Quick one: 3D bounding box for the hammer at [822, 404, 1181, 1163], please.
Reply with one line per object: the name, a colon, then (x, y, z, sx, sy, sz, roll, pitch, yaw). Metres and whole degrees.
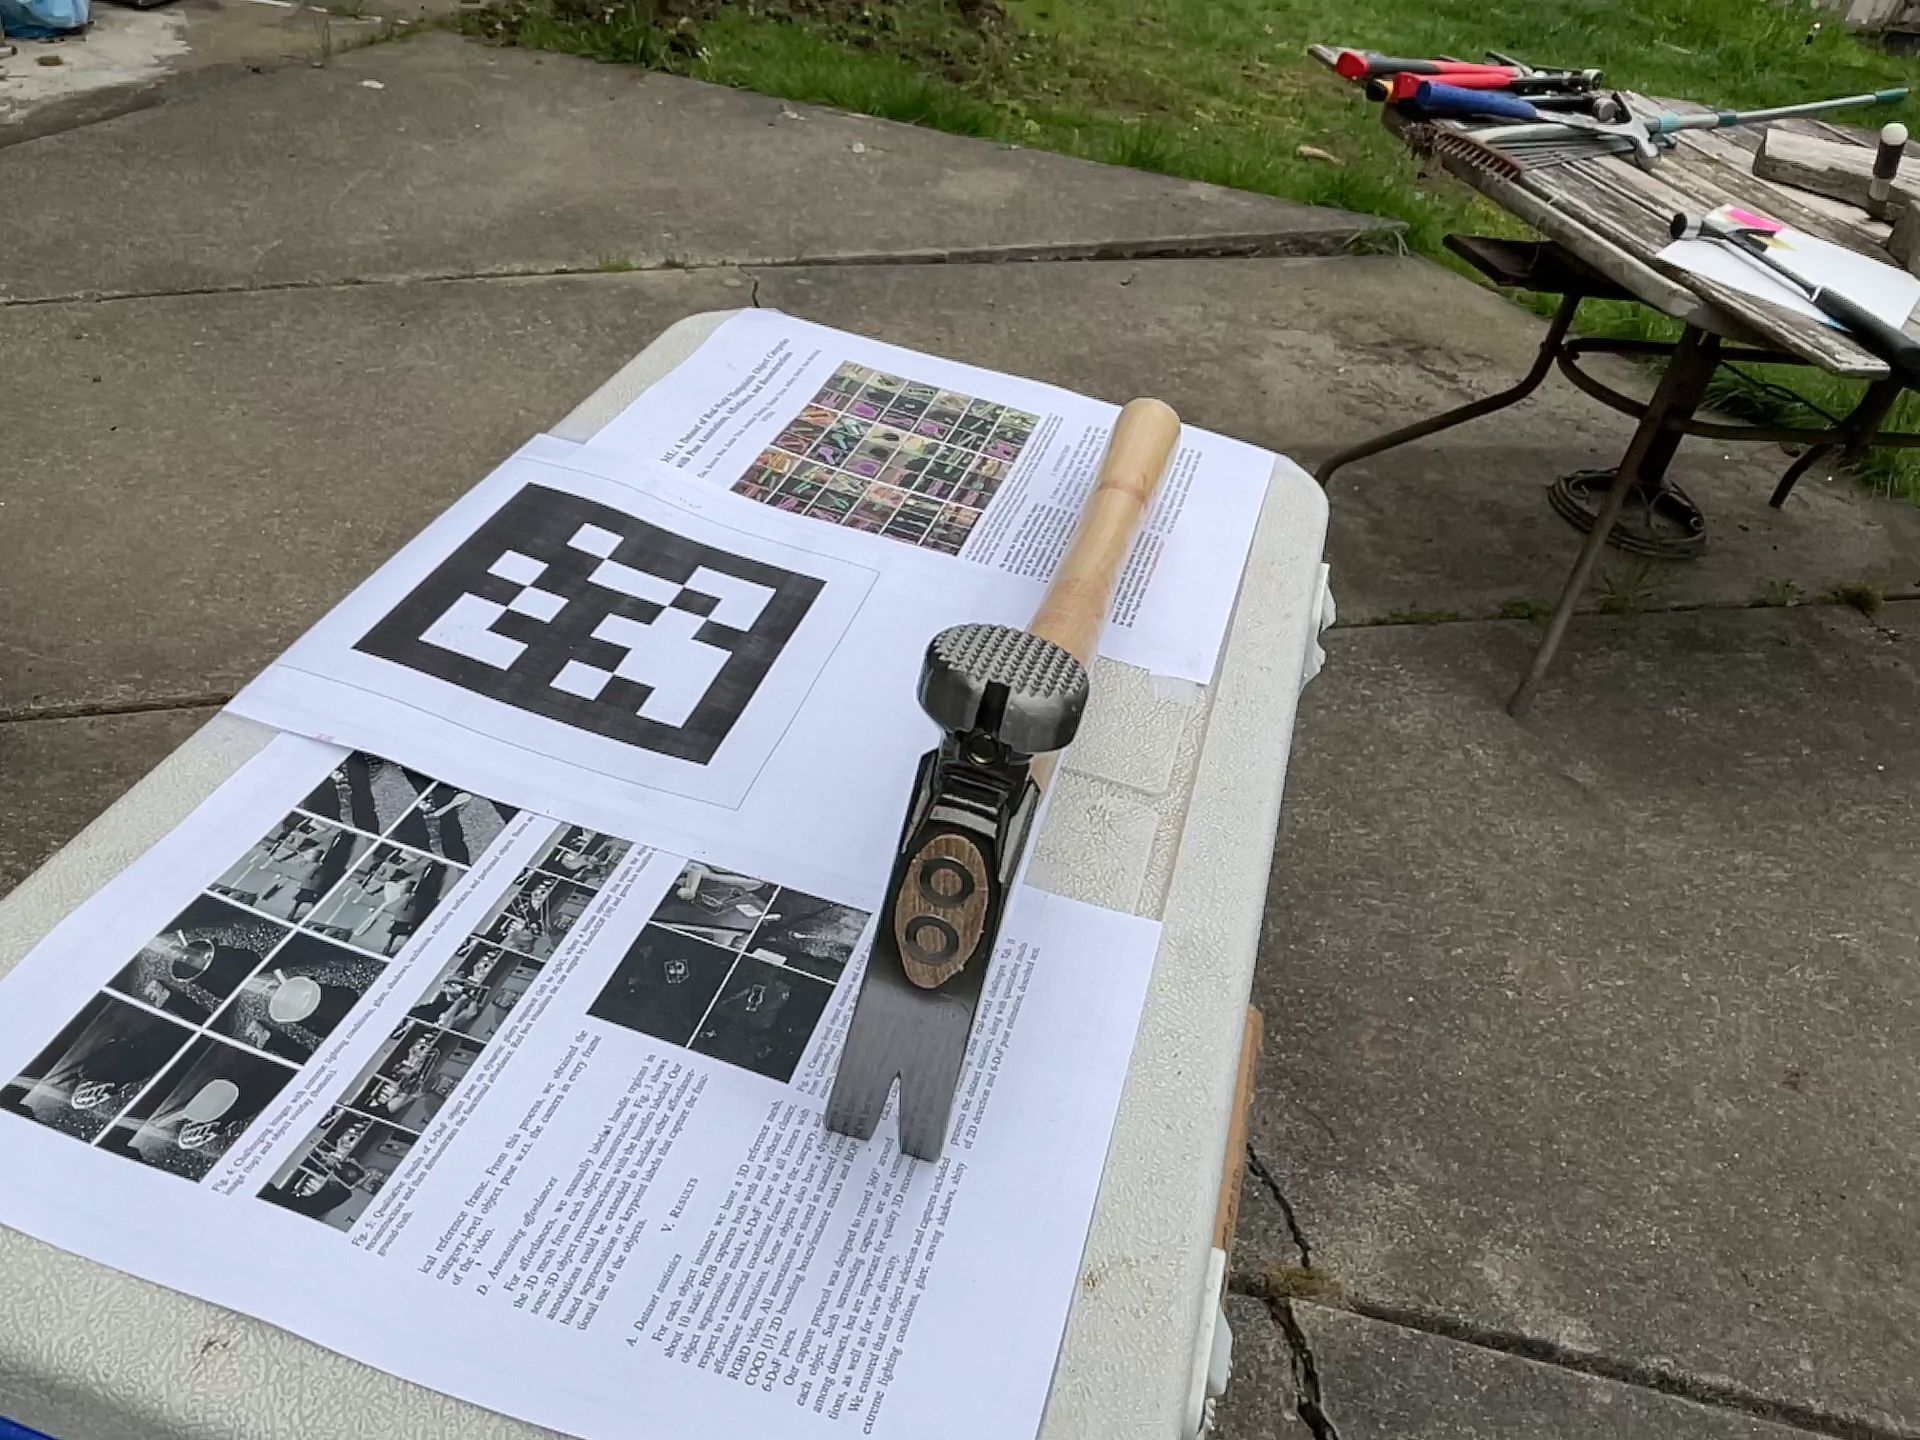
hammer: (0.035, -0.026, 0.557, 0.038, 0.146, 0.411, 17, 27, 6)
